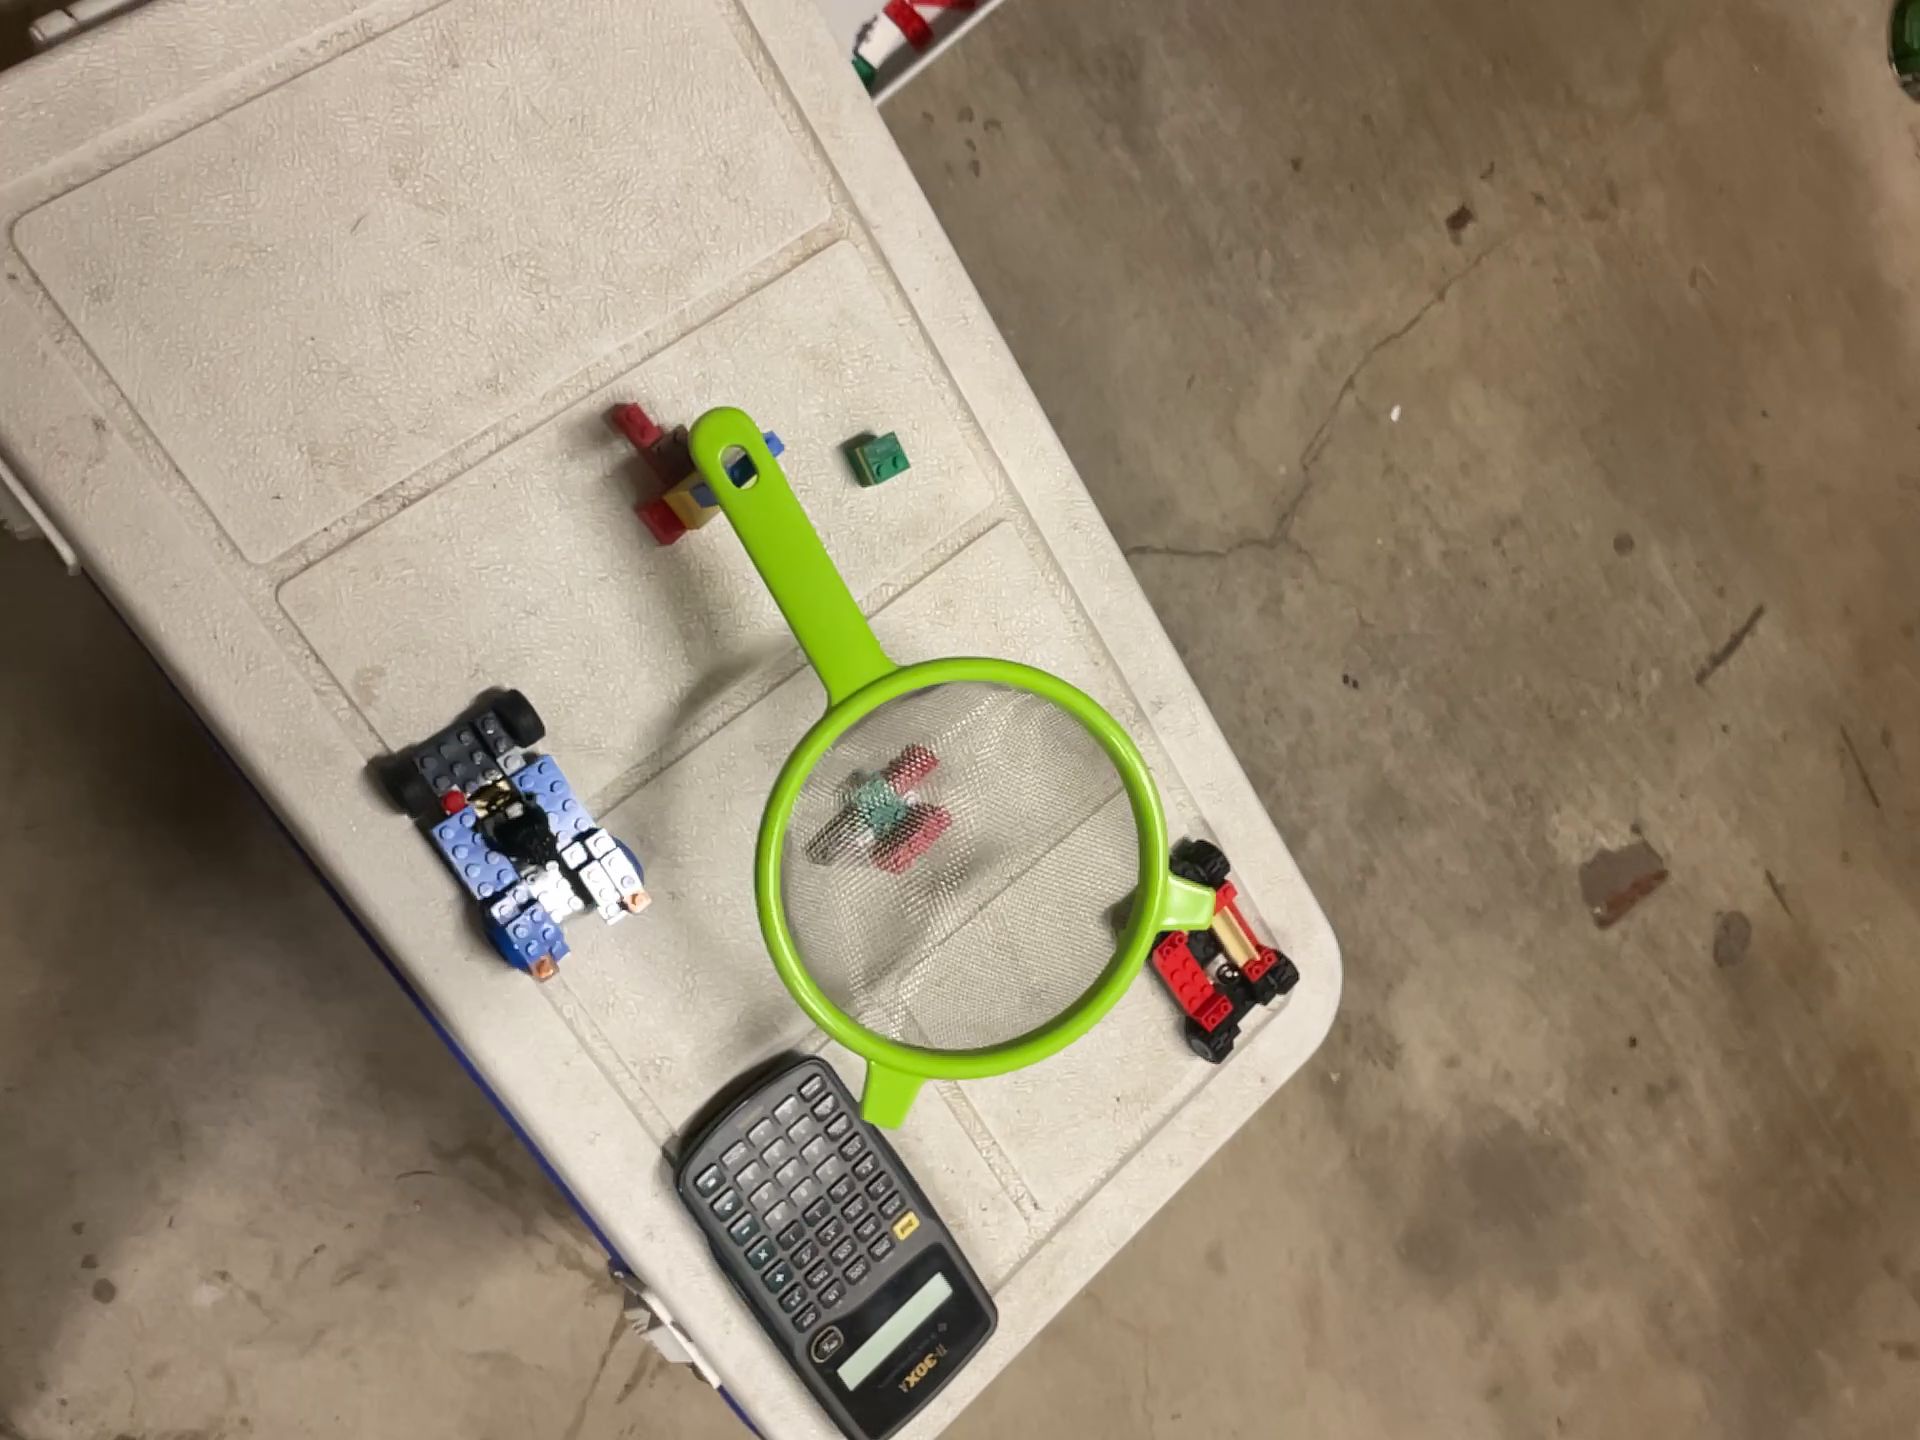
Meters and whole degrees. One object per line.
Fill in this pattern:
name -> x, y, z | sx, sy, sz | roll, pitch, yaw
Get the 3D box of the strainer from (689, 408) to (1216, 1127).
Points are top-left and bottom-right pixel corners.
strainer -> -0.030, 0.006, 0.586 | 0.151, 0.069, 0.256 | -31, 98, -10
